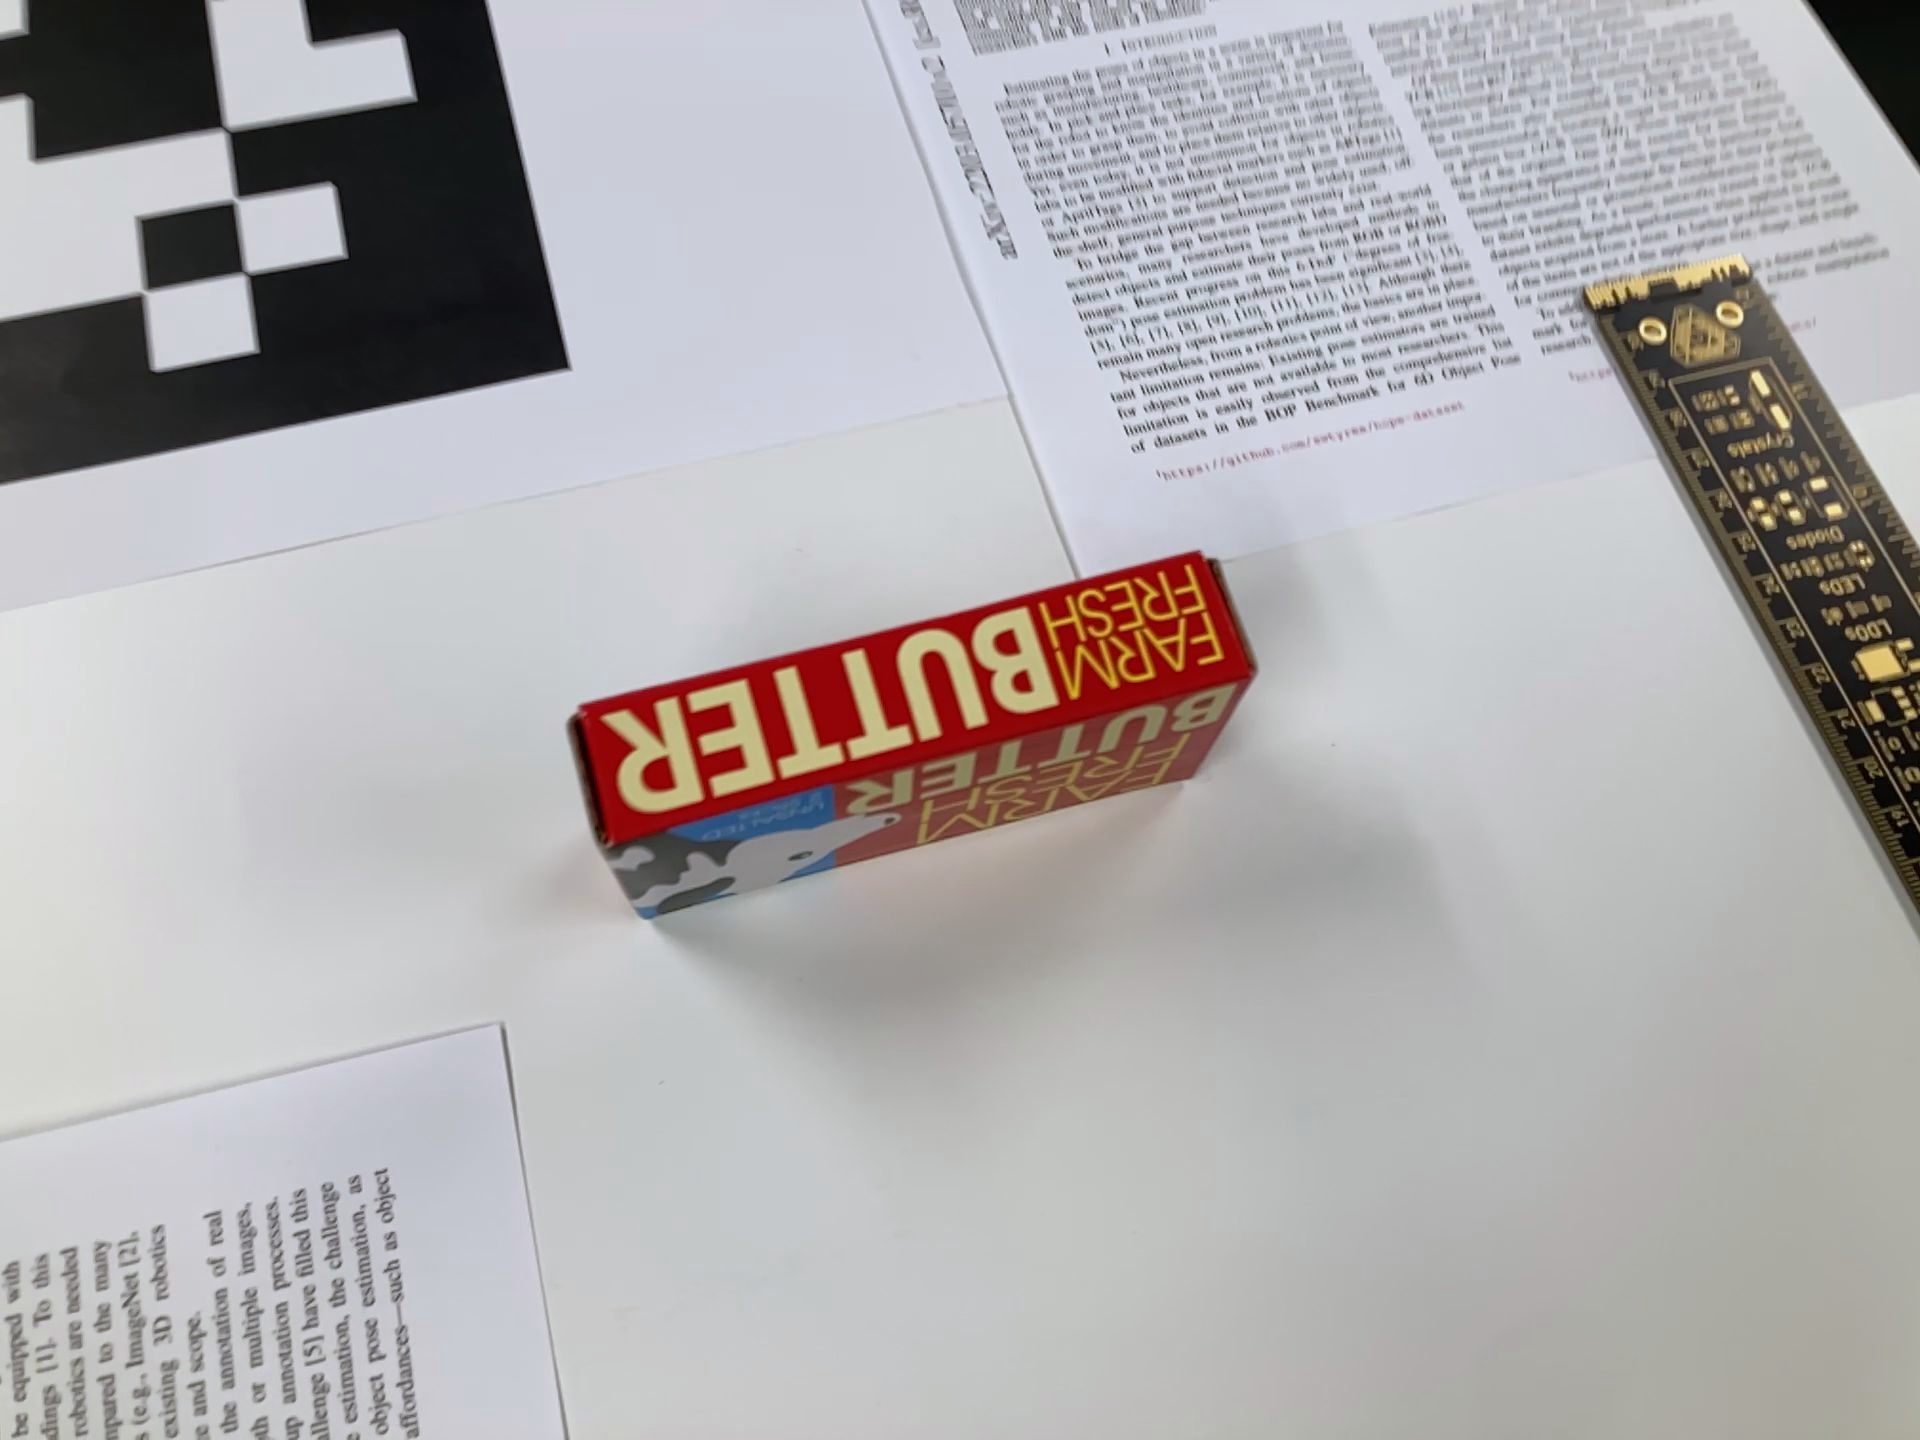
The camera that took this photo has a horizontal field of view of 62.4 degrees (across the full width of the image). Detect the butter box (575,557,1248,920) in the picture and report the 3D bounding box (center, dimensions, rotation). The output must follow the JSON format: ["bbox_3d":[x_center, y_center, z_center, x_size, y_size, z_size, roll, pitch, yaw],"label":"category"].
[{"bbox_3d":[-0.008,0.004,0.265,0.103,0.053,0.024,-14,72,-9],"label":"butter box"}]
